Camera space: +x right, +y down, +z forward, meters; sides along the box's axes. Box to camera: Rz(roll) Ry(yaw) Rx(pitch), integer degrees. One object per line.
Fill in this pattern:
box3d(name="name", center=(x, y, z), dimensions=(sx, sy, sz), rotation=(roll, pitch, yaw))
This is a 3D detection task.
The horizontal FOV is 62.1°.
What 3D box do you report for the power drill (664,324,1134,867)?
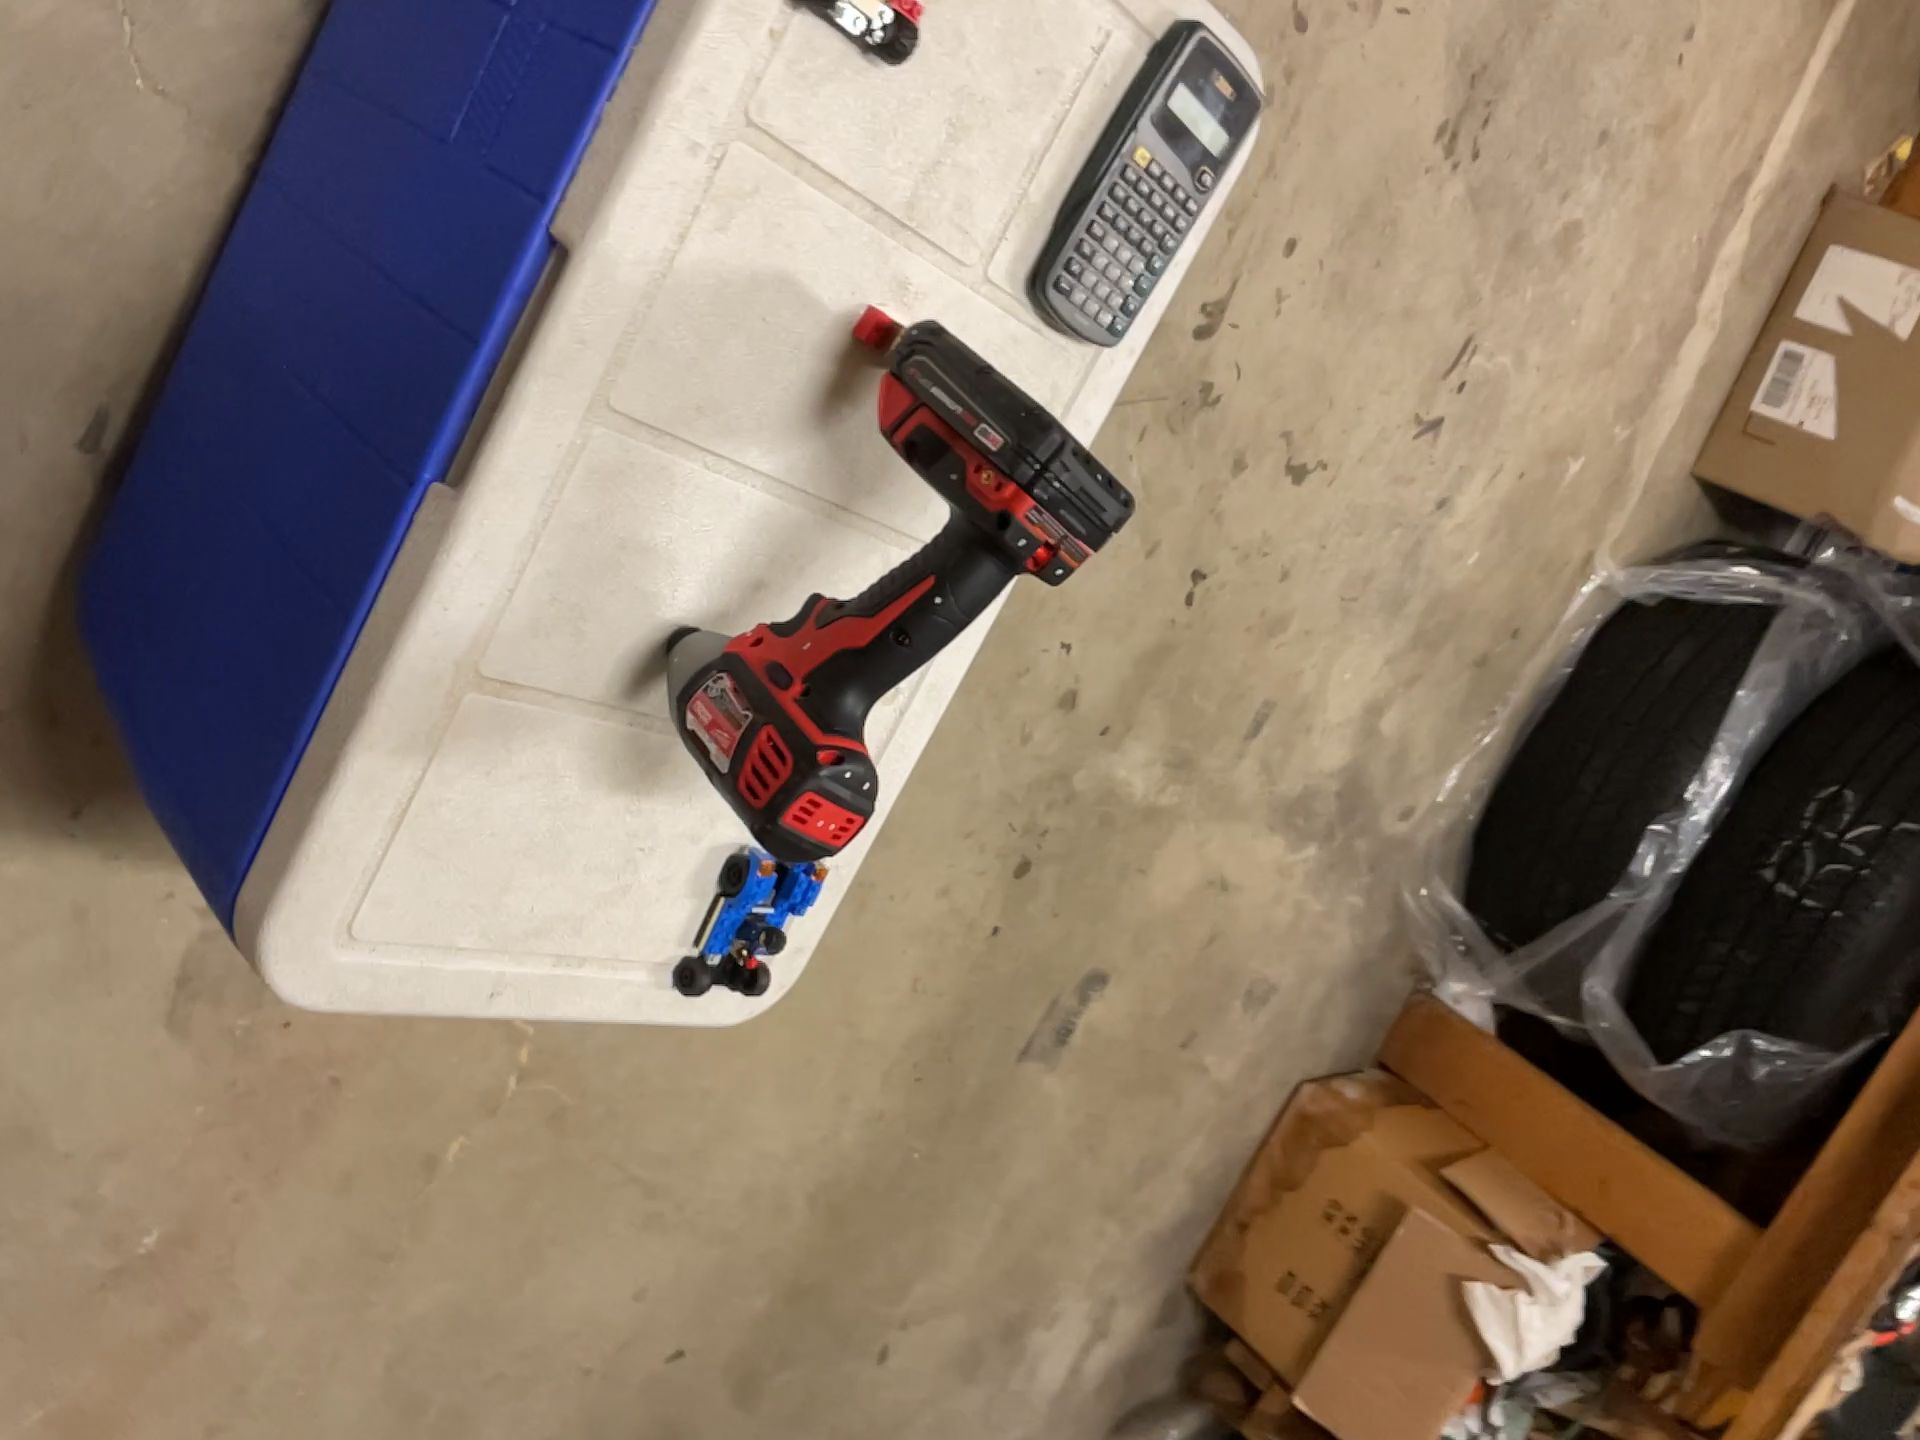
box3d(name="power drill", center=(-0.043, -0.056, 0.708), dimensions=(0.219, 0.143, 0.078), rotation=(-49, 141, 7))
